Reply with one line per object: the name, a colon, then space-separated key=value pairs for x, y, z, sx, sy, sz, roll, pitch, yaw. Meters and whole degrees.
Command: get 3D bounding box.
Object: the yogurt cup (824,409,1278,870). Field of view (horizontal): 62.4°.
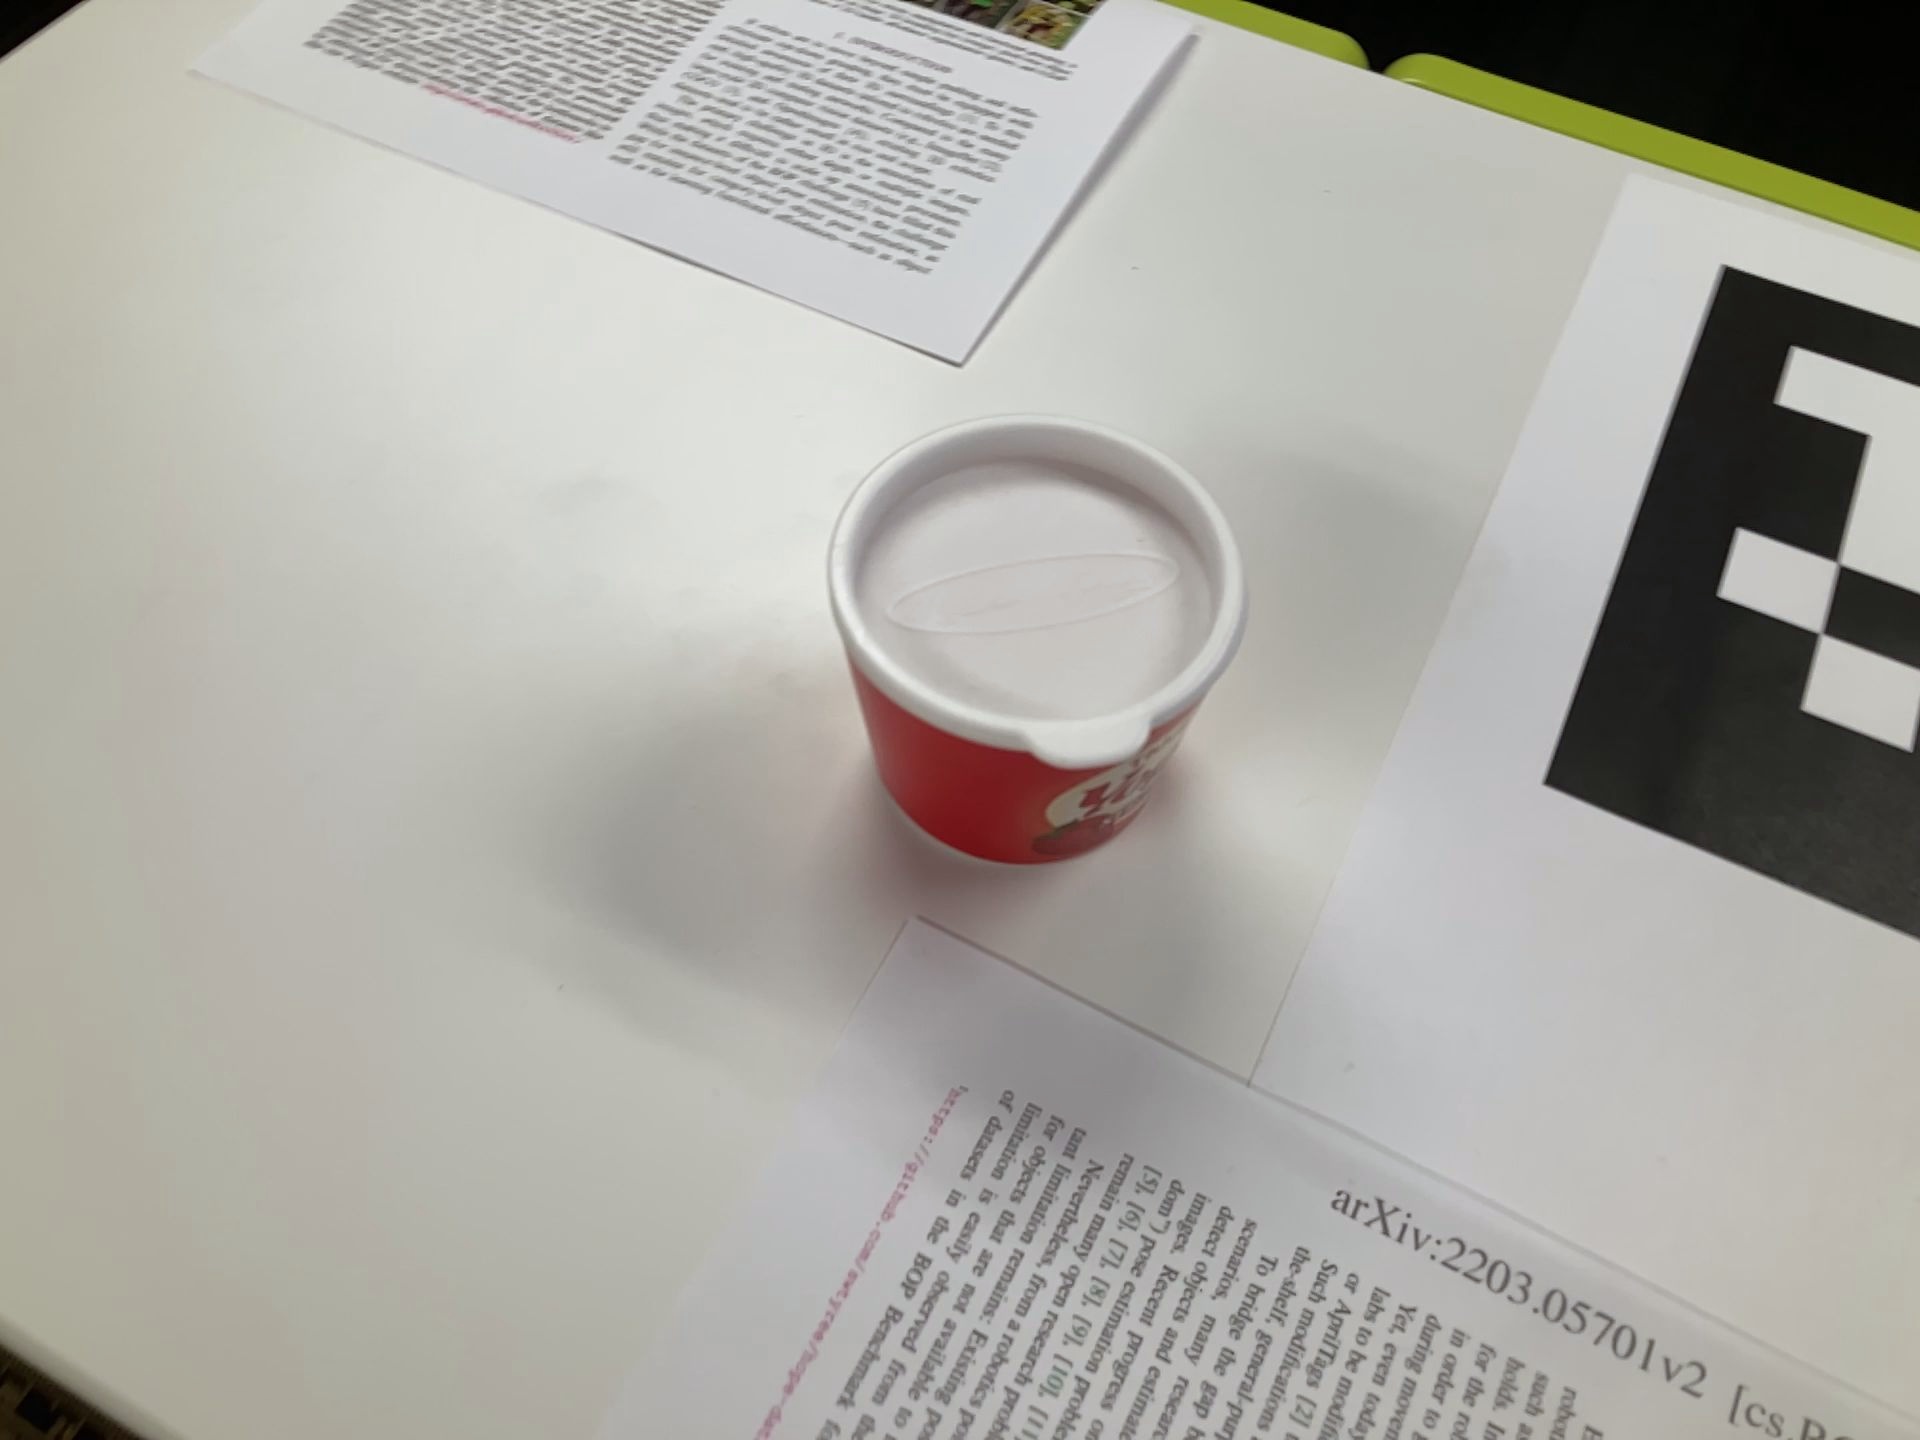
yogurt cup: x=0.012 y=-0.011 z=0.271 sx=0.072 sy=0.054 sz=0.072 roll=1 pitch=56 yaw=-1
